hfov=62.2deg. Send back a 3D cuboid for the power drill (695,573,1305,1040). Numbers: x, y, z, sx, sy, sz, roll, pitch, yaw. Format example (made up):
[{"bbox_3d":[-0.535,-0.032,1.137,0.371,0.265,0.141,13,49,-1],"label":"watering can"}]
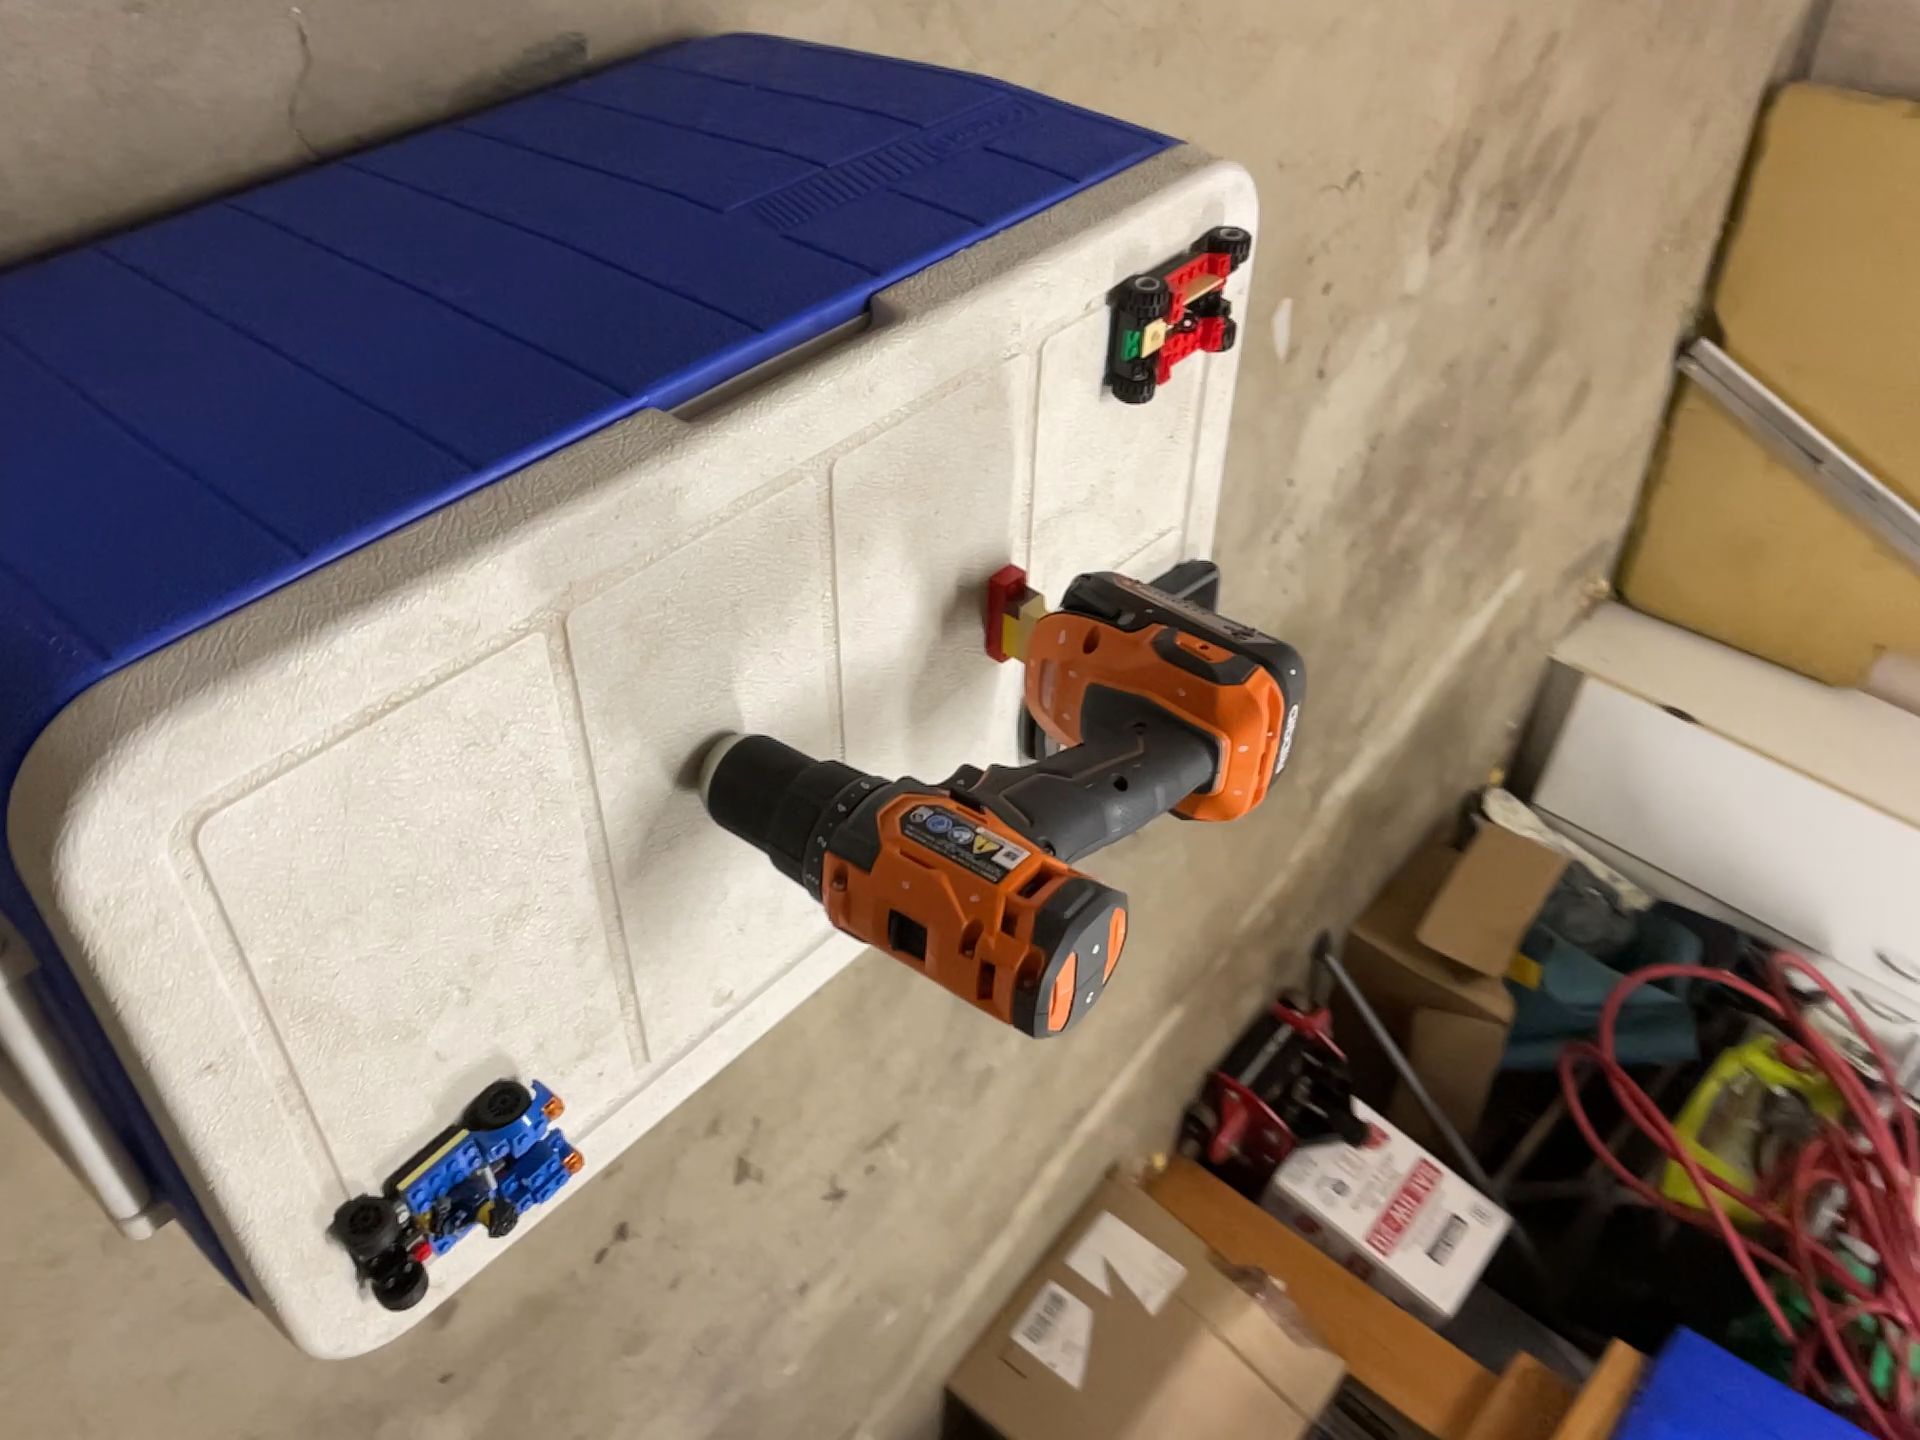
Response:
[{"bbox_3d":[0.020,0.019,0.664,0.226,0.185,0.084,-38,143,-42],"label":"power drill"}]
